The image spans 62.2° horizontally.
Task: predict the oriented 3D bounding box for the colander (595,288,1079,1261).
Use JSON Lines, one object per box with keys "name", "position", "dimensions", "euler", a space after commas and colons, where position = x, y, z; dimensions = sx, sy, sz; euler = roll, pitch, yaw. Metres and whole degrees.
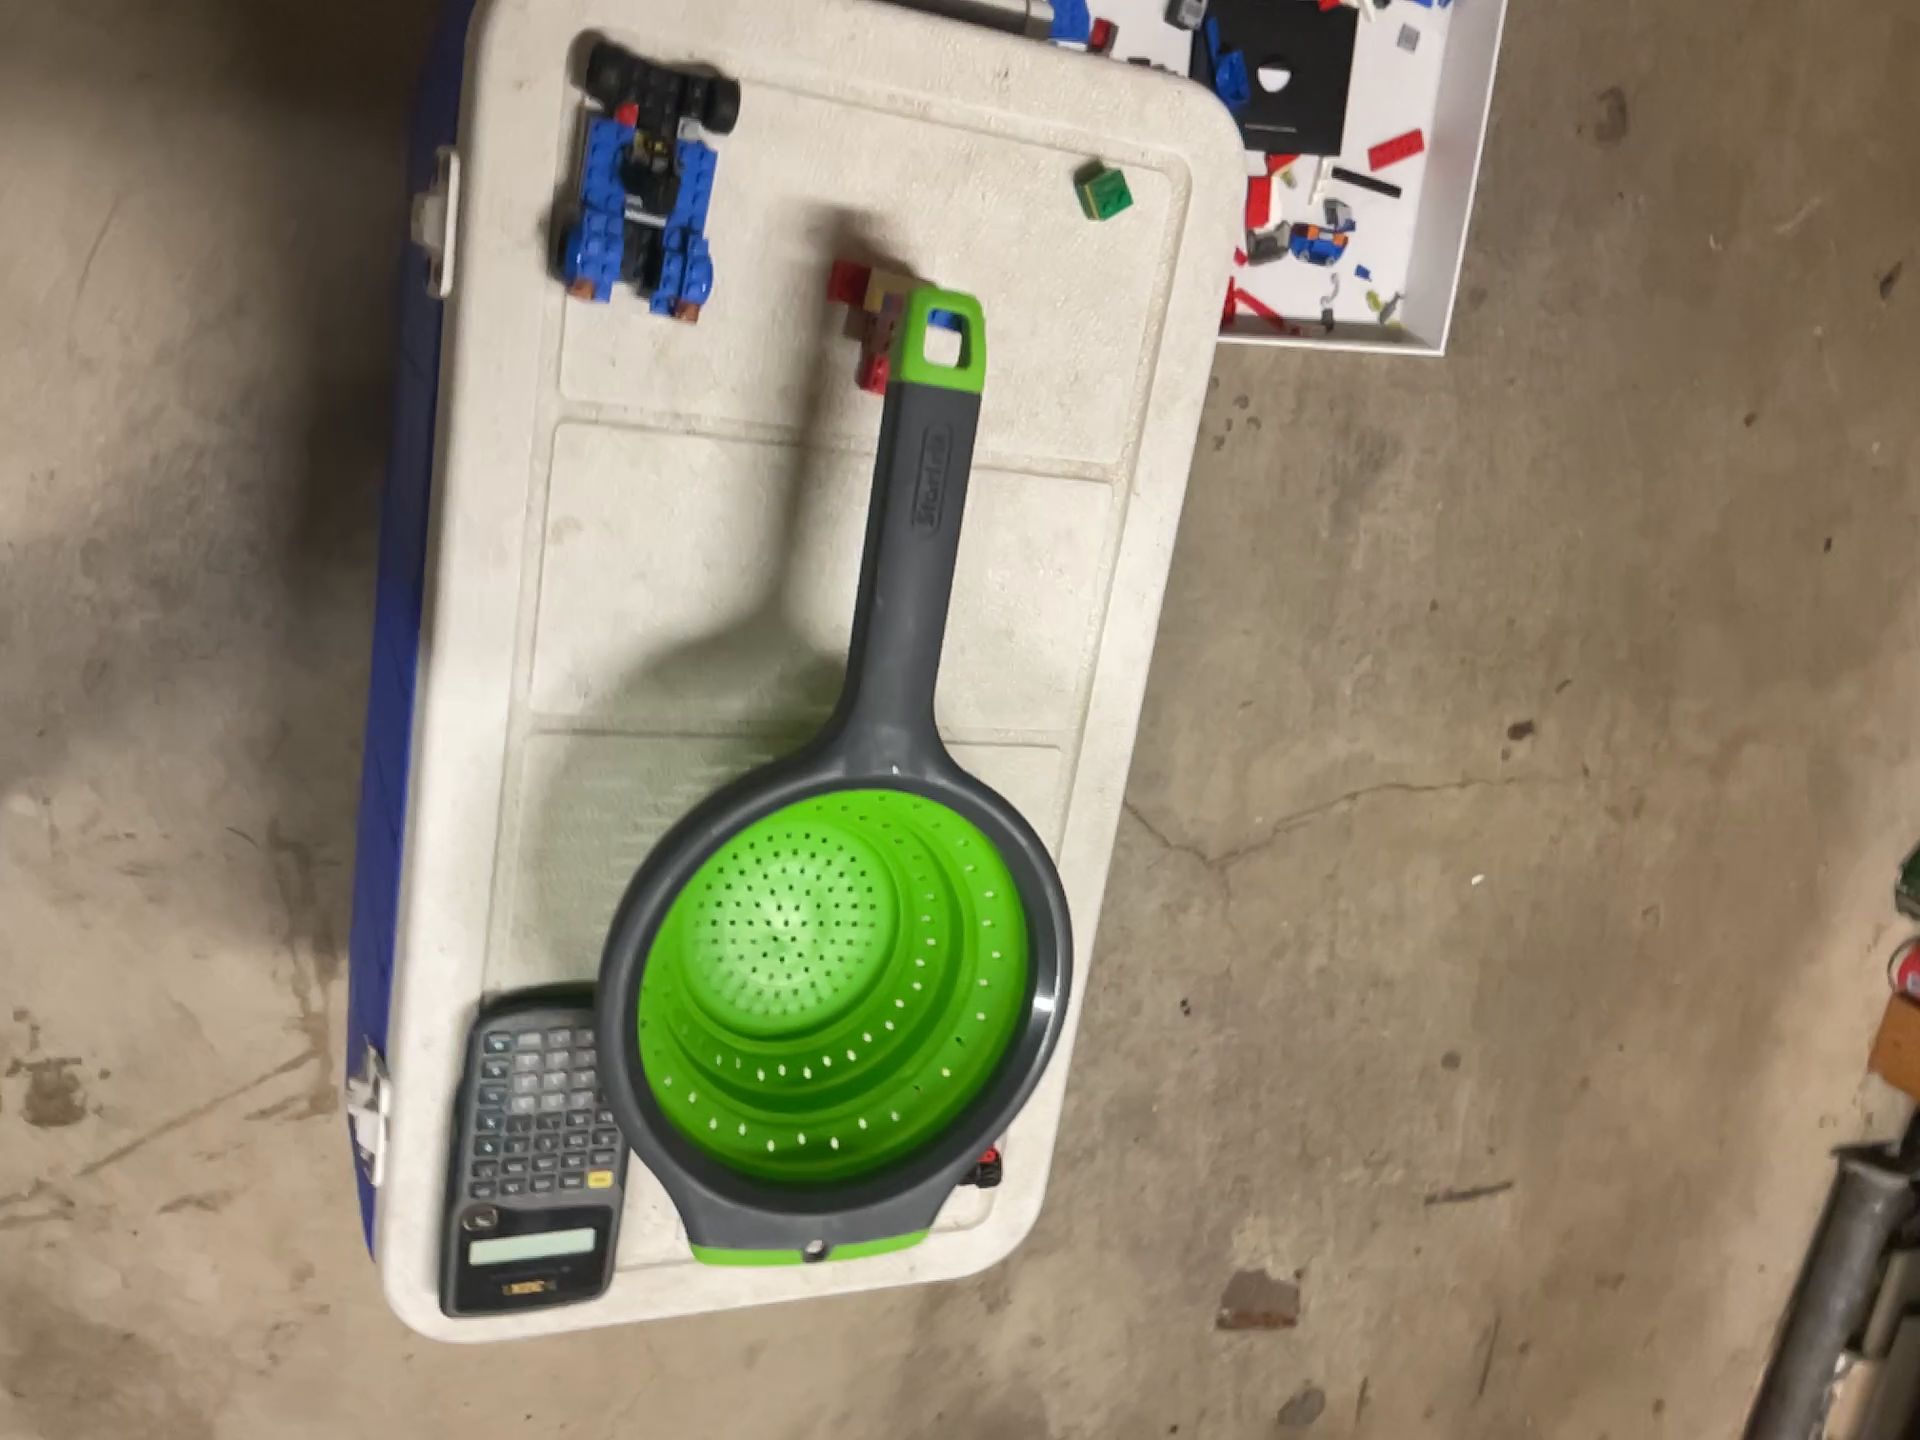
{"name": "colander", "position": [-0.047, 0.023, 0.668], "dimensions": [0.205, 0.094, 0.396], "euler": [5, 101, -24]}
